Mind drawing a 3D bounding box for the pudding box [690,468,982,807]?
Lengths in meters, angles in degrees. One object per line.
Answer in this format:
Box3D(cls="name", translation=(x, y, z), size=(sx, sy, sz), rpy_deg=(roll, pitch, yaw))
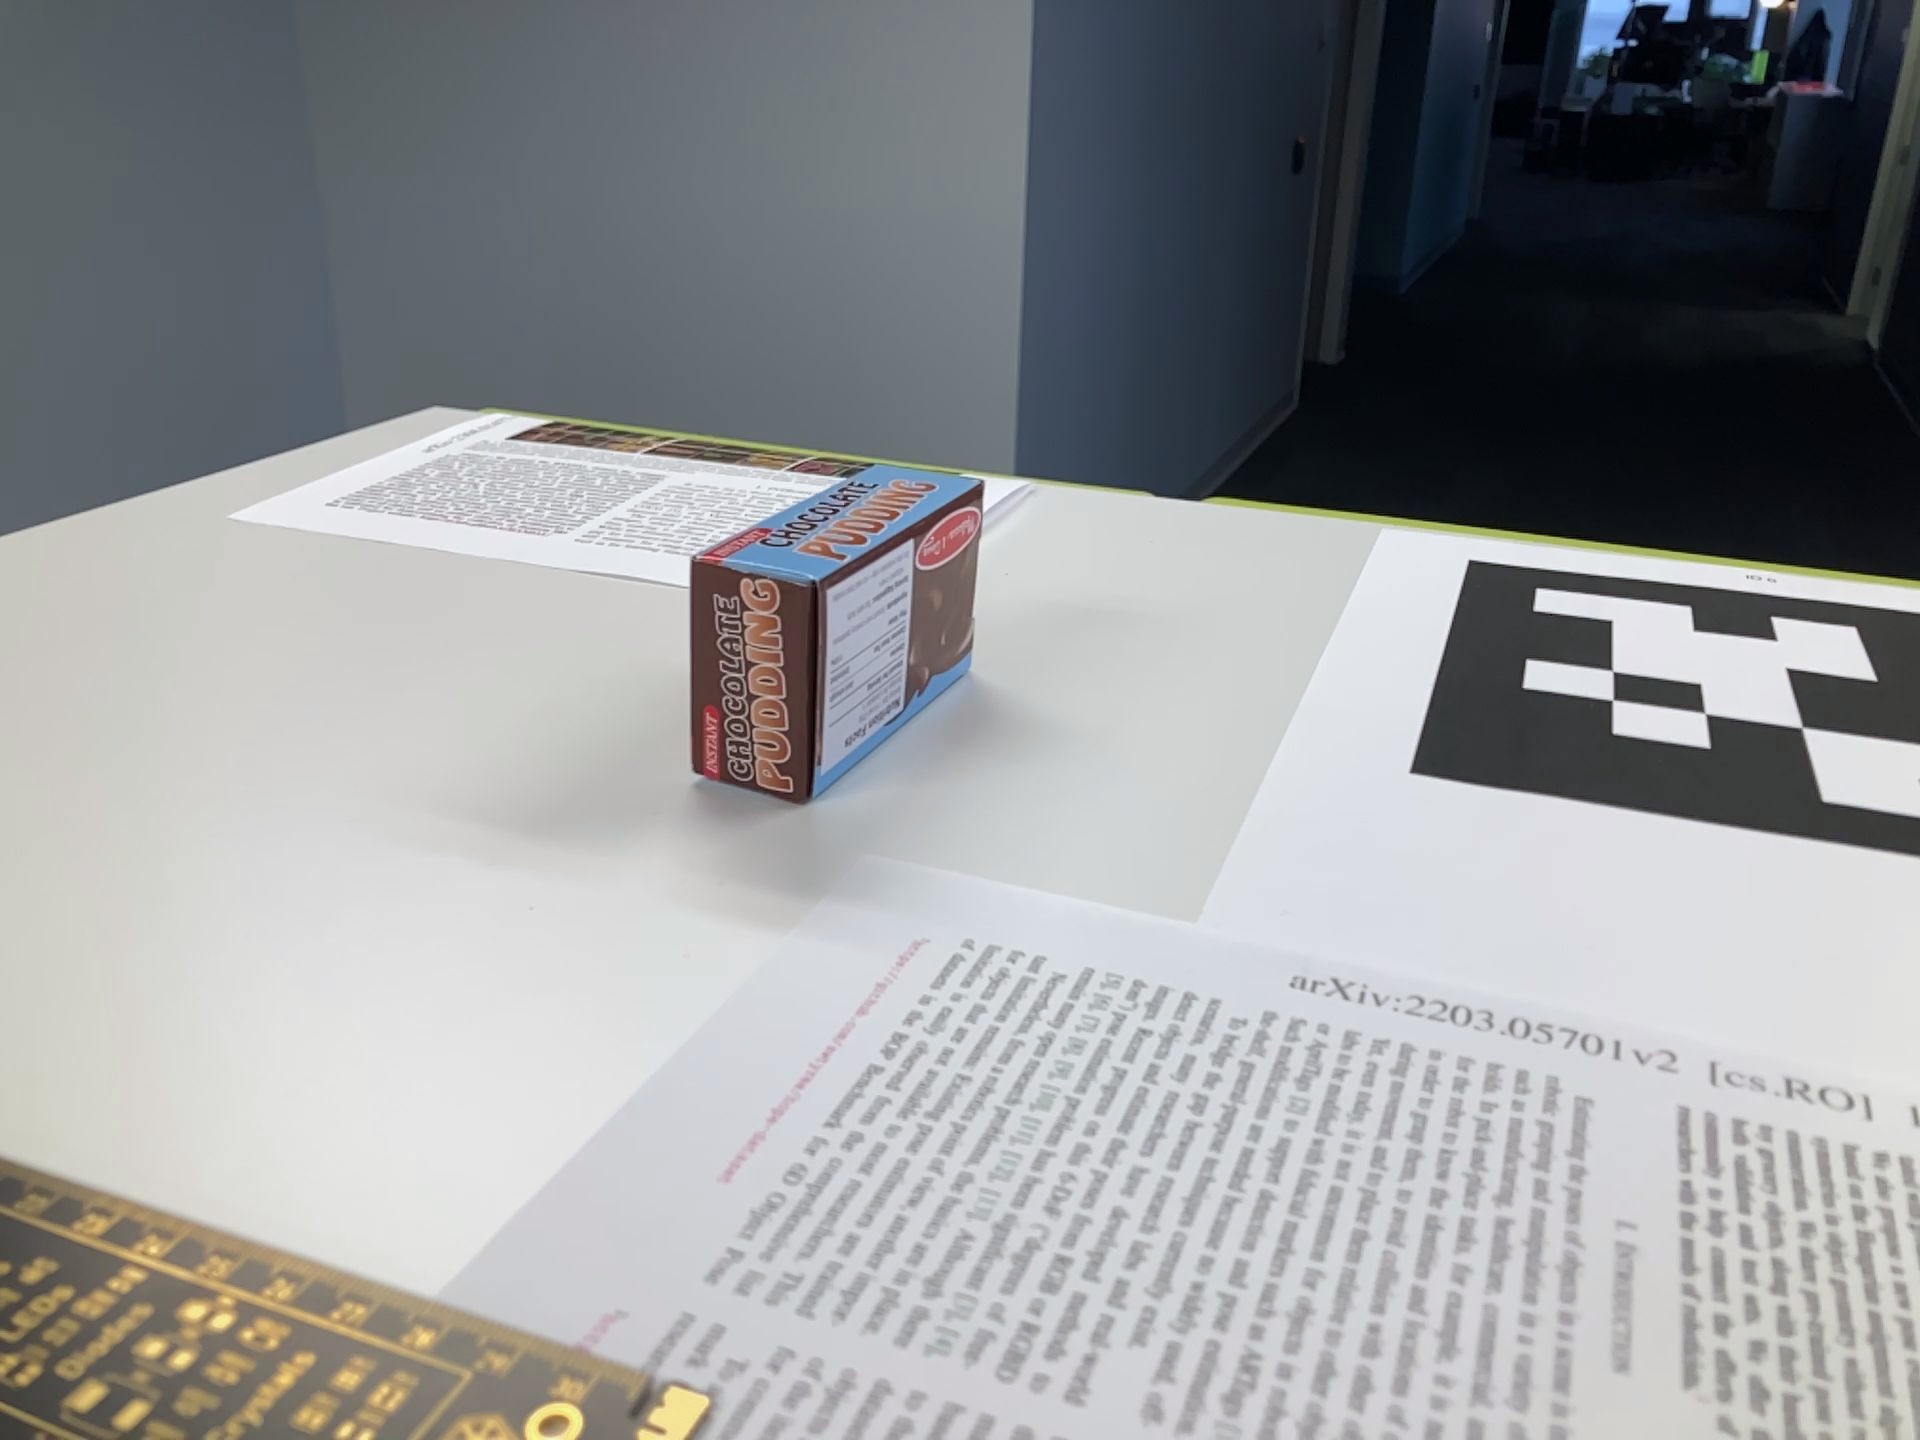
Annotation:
Box3D(cls="pudding box", translation=(-0.025, -0.021, 0.344), size=(0.030, 0.049, 0.083), rpy_deg=(13, 26, 20))
